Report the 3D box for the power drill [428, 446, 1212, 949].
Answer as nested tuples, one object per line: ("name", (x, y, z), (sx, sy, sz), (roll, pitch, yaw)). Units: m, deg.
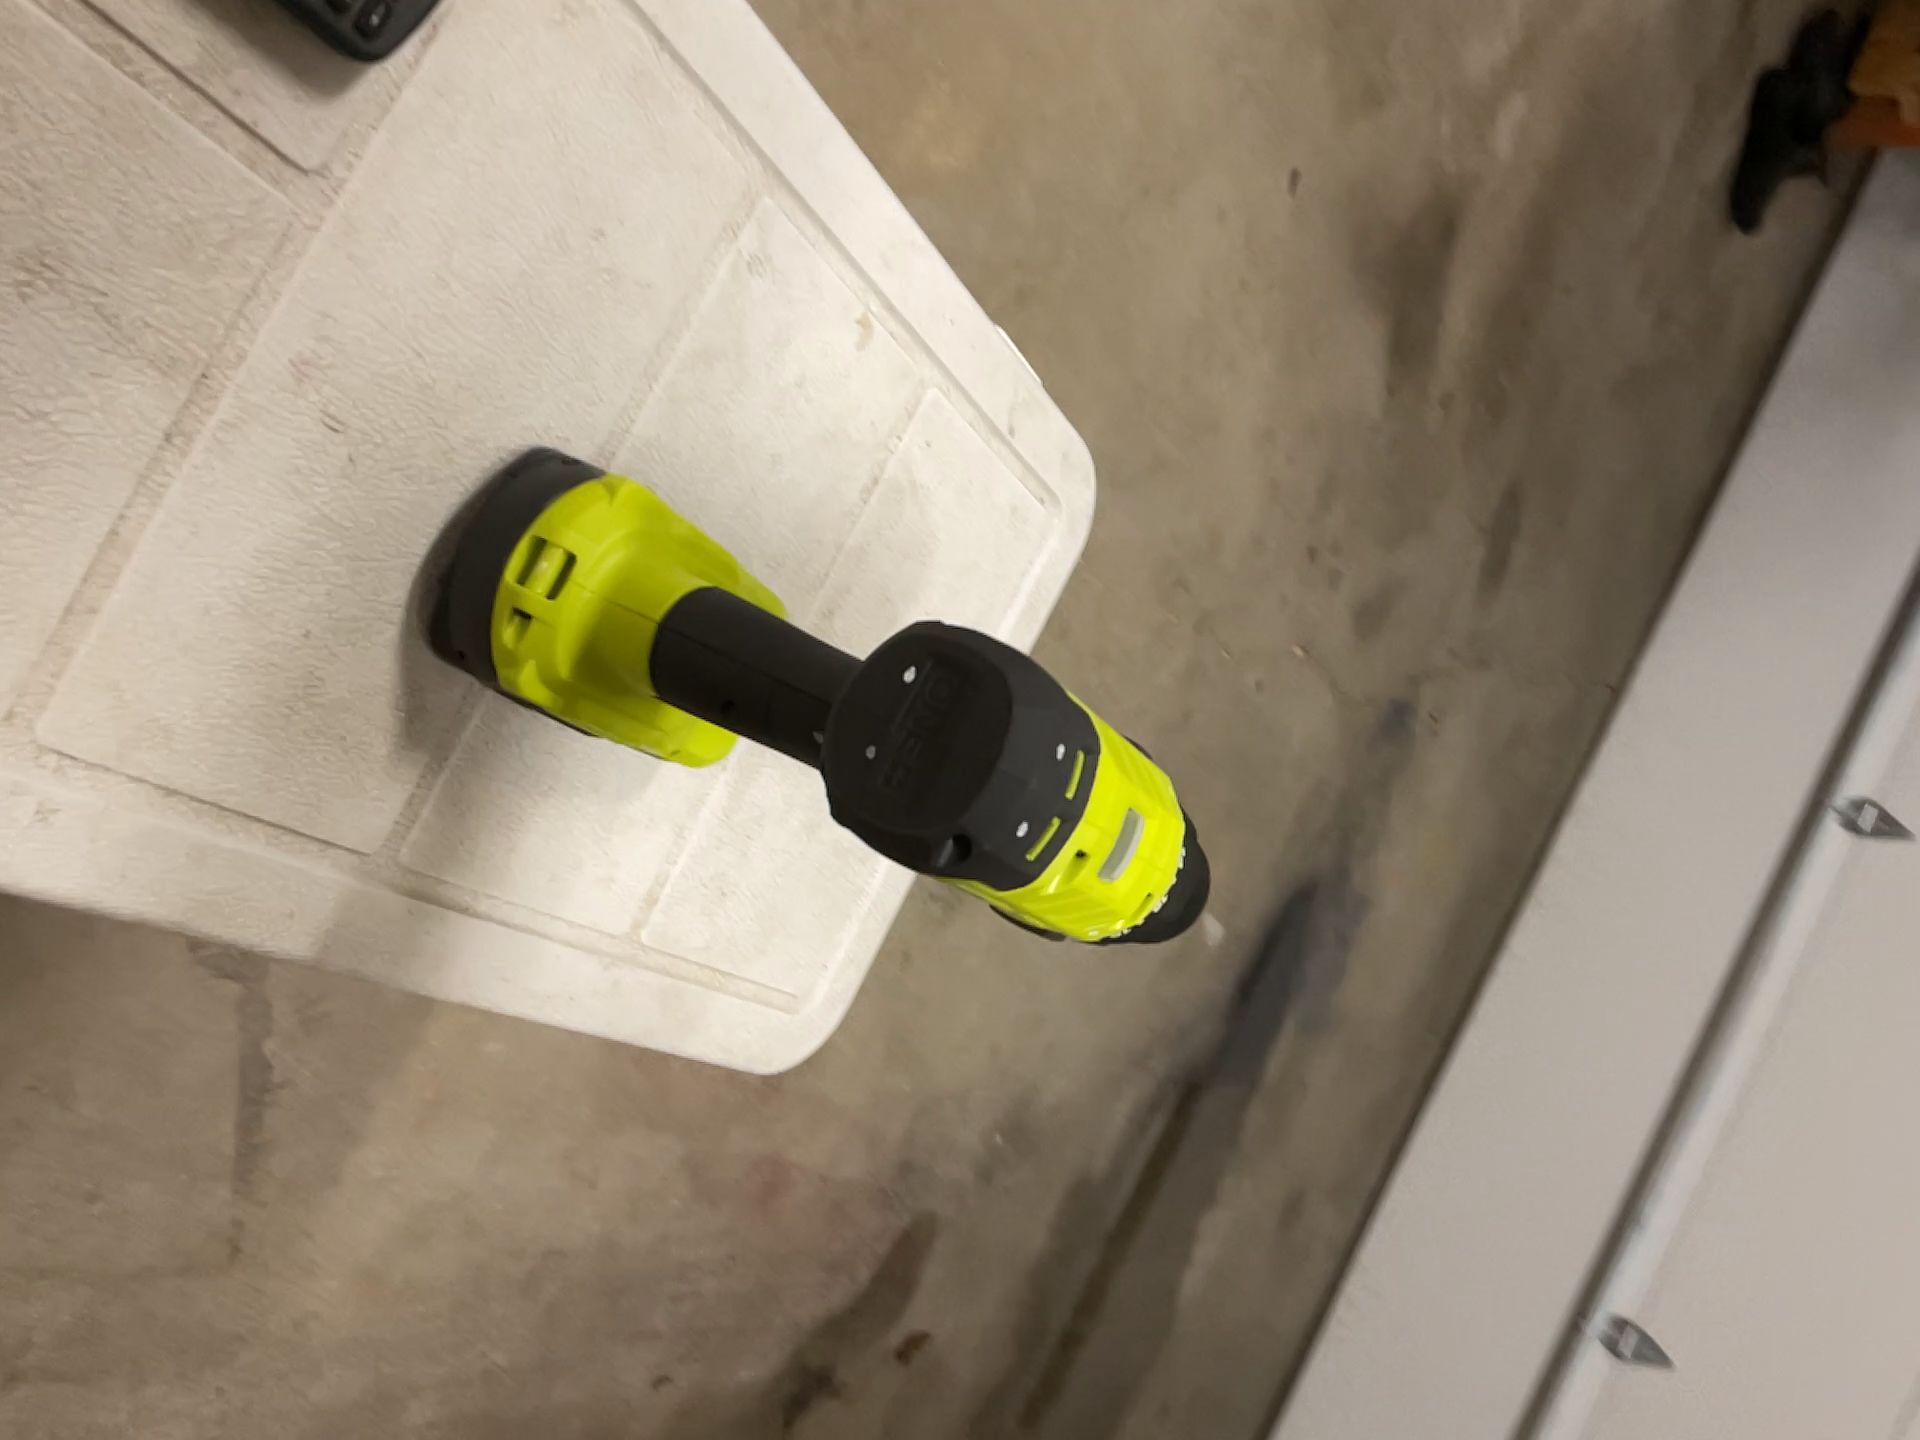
("power drill", (-0.034, 0.003, 0.498), (0.080, 0.228, 0.190), (-63, 150, -5))
